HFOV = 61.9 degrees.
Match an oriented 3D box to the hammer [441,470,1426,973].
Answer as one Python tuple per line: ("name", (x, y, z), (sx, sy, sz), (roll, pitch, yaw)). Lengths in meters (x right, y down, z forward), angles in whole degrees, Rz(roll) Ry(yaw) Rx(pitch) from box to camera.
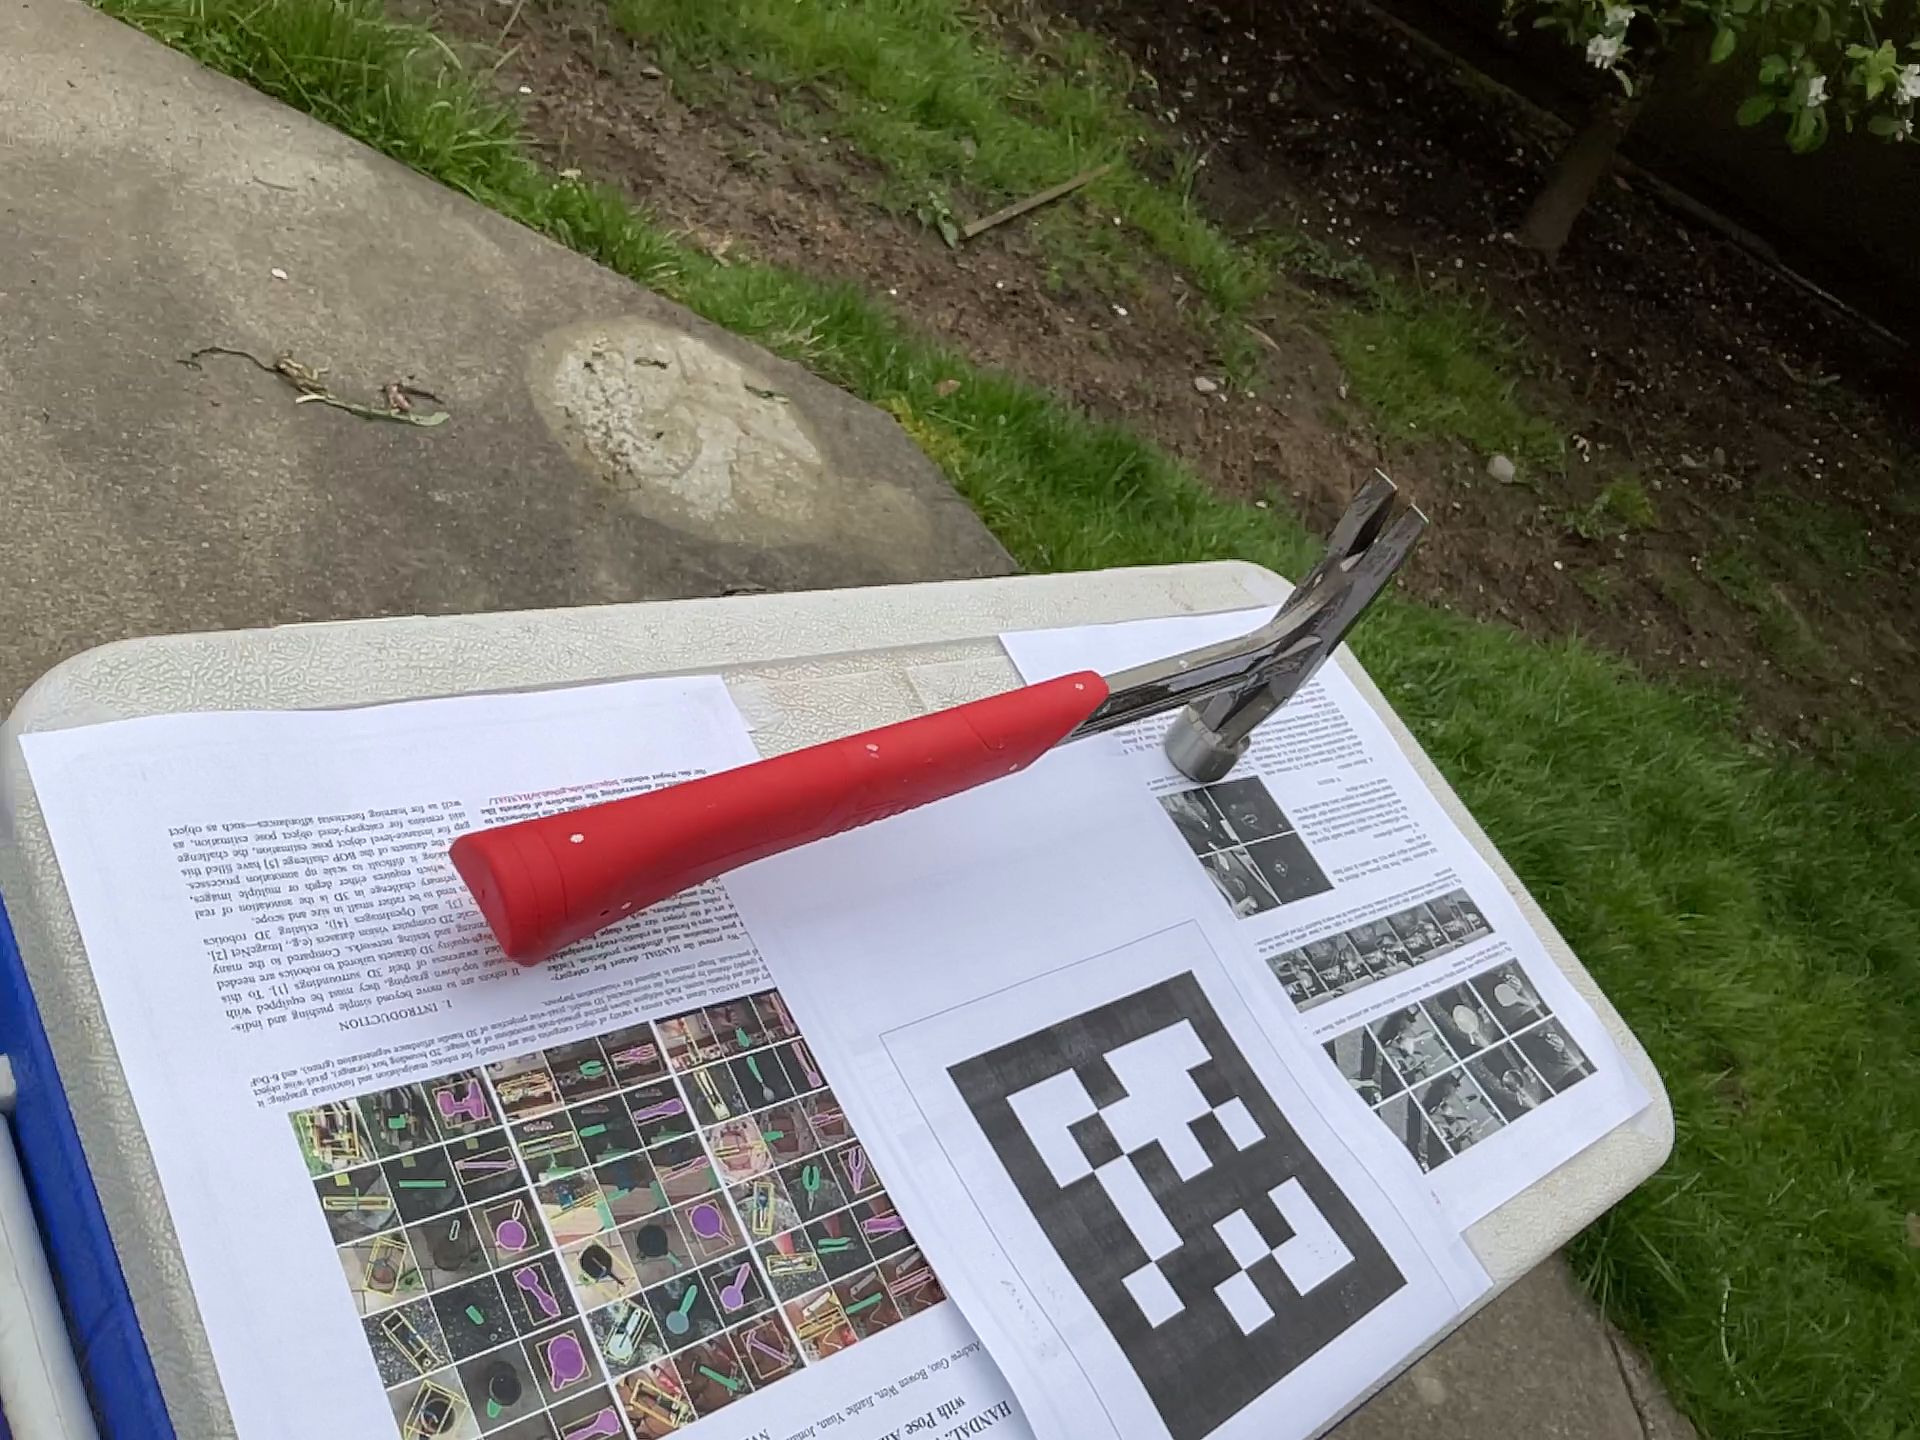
("hammer", (0.009, 0.002, 0.521), (0.359, 0.149, 0.037), (-16, 59, -41))
